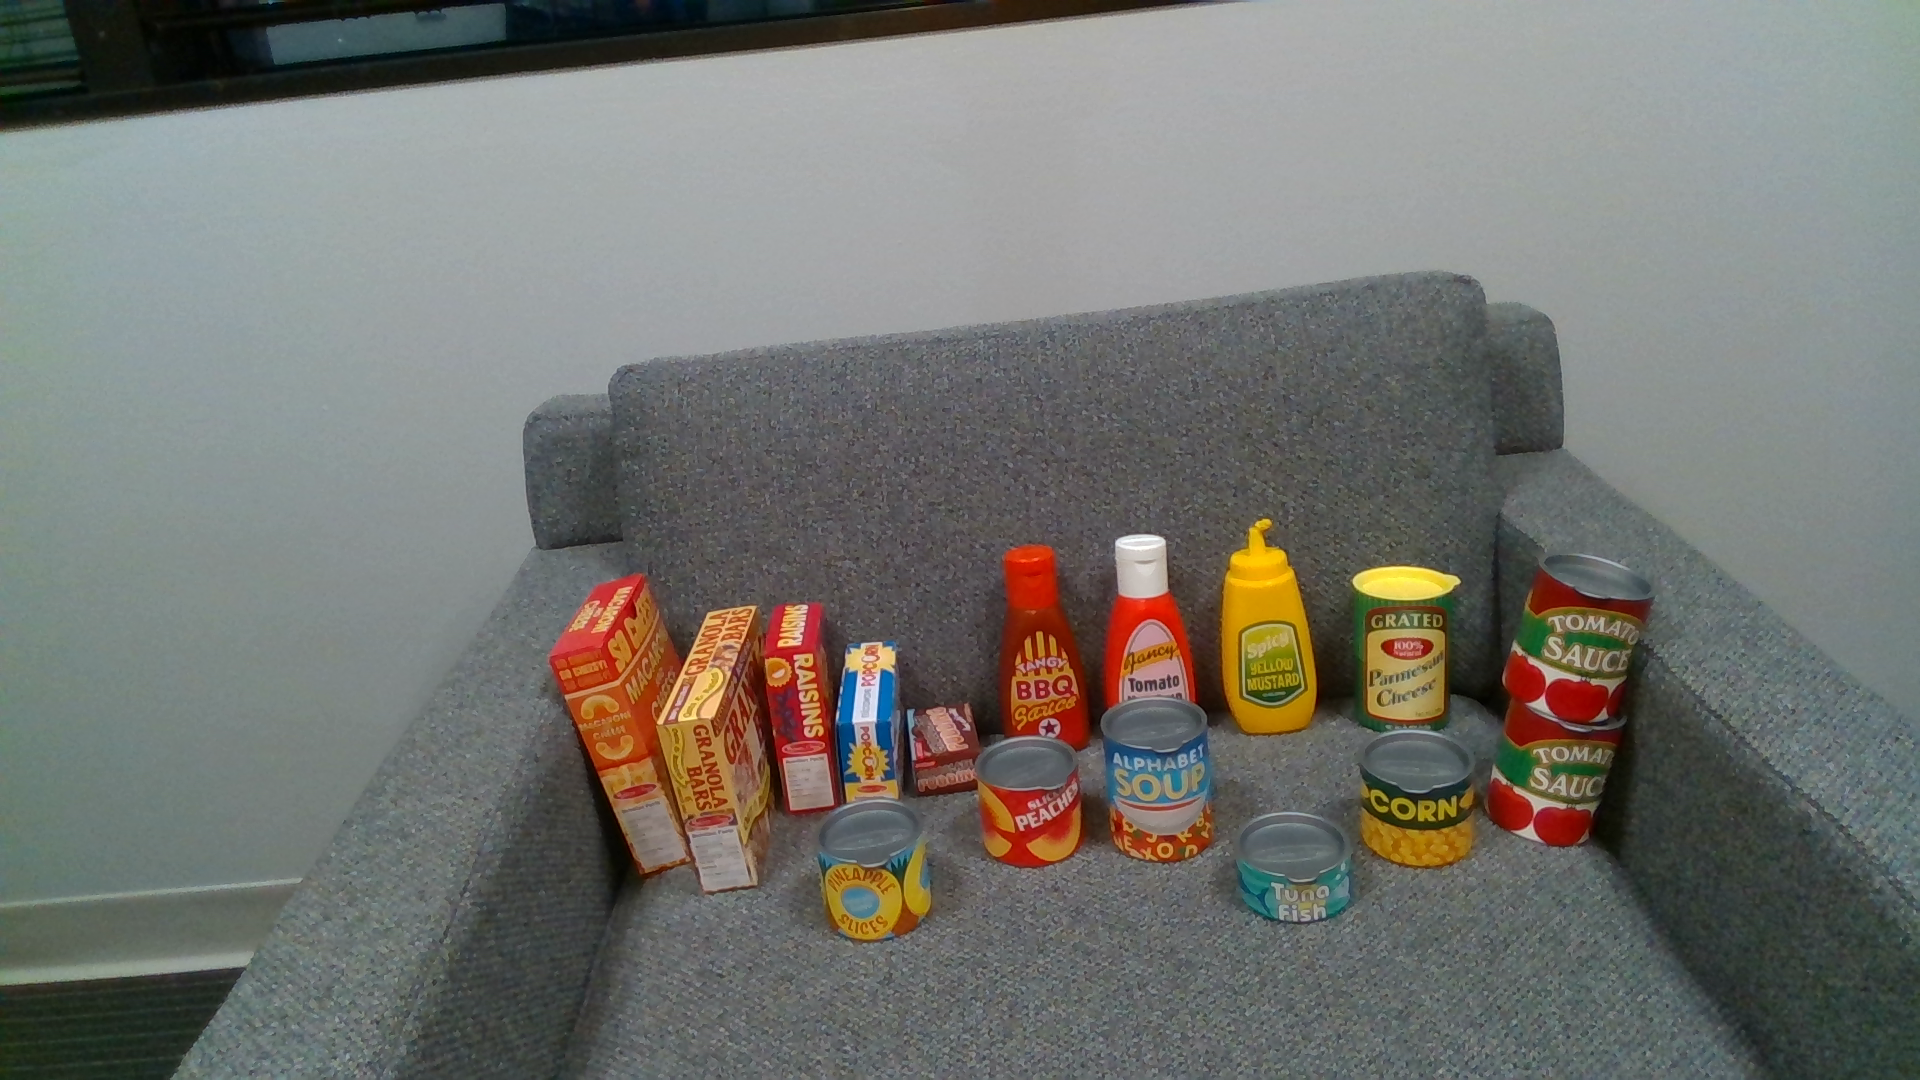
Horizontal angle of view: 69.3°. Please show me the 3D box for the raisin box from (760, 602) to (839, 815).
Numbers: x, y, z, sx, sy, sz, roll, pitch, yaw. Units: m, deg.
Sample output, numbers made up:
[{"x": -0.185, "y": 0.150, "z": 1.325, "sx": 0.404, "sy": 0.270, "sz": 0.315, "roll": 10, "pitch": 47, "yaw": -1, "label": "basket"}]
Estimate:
[{"x": -0.109, "y": 0.115, "z": 0.966, "sx": 0.040, "sy": 0.123, "sz": 0.086, "roll": -6, "pitch": 16, "yaw": 0, "label": "raisin box"}]

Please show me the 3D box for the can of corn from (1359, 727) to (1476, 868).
[{"x": 0.274, "y": 0.156, "z": 0.835, "sx": 0.071, "sy": 0.058, "sz": 0.071, "roll": -6, "pitch": 23, "yaw": 2, "label": "can of corn"}]

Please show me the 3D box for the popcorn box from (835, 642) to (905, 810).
[{"x": -0.060, "y": 0.133, "z": 0.953, "sx": 0.038, "sy": 0.085, "sz": 0.127, "roll": -5, "pitch": 19, "yaw": 1, "label": "popcorn box"}]

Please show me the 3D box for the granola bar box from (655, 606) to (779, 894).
[{"x": -0.154, "y": 0.135, "z": 0.927, "sx": 0.039, "sy": 0.123, "sz": 0.166, "roll": -9, "pitch": 21, "yaw": 5, "label": "granola bar box"}]

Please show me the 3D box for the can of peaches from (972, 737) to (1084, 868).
[{"x": 0.045, "y": 0.166, "z": 0.877, "sx": 0.071, "sy": 0.057, "sz": 0.071, "roll": -6, "pitch": 20, "yaw": 2, "label": "can of peaches"}]

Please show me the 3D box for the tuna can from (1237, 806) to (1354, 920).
[{"x": 0.195, "y": 0.188, "z": 0.804, "sx": 0.071, "sy": 0.032, "sz": 0.071, "roll": -7, "pitch": 25, "yaw": 3, "label": "tuna can"}]

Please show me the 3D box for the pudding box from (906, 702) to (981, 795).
[{"x": -0.011, "y": 0.147, "z": 0.982, "sx": 0.050, "sy": 0.030, "sz": 0.084, "roll": -8, "pitch": 17, "yaw": -2, "label": "pudding box"}]

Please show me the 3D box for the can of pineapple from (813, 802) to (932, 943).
[{"x": -0.052, "y": 0.198, "z": 0.827, "sx": 0.071, "sy": 0.057, "sz": 0.071, "roll": -6, "pitch": 18, "yaw": 2, "label": "can of pineapple"}]

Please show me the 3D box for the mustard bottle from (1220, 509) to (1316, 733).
[{"x": 0.213, "y": 0.056, "z": 0.979, "sx": 0.065, "sy": 0.159, "sz": 0.049, "roll": -9, "pitch": 15, "yaw": 5, "label": "mustard bottle"}]

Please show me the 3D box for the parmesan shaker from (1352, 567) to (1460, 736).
[{"x": 0.313, "y": 0.078, "z": 0.972, "sx": 0.071, "sy": 0.102, "sz": 0.071, "roll": -5, "pitch": 17, "yaw": 2, "label": "parmesan shaker"}]

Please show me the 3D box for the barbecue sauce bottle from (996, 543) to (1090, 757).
[{"x": 0.055, "y": 0.078, "z": 0.982, "sx": 0.065, "sy": 0.148, "sz": 0.044, "roll": -7, "pitch": 15, "yaw": -4, "label": "barbecue sauce bottle"}]

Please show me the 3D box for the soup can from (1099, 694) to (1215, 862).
[{"x": 0.124, "y": 0.149, "z": 0.863, "sx": 0.071, "sy": 0.083, "sz": 0.071, "roll": -7, "pitch": 19, "yaw": 2, "label": "soup can"}]

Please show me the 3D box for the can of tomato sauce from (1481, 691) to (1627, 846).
[{"x": 0.362, "y": 0.135, "z": 0.848, "sx": 0.071, "sy": 0.082, "sz": 0.071, "roll": 6, "pitch": 20, "yaw": -2, "label": "can of tomato sauce"}]

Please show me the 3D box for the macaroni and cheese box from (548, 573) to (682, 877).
[{"x": -0.214, "y": 0.121, "z": 0.942, "sx": 0.040, "sy": 0.166, "sz": 0.124, "roll": -15, "pitch": 19, "yaw": 6, "label": "macaroni and cheese box"}]

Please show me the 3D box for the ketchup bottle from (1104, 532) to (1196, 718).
[{"x": 0.132, "y": 0.069, "z": 0.982, "sx": 0.065, "sy": 0.148, "sz": 0.043, "roll": -6, "pitch": 15, "yaw": -3, "label": "ketchup bottle"}]

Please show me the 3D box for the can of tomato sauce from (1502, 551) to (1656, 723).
[{"x": 0.364, "y": 0.058, "z": 0.821, "sx": 0.071, "sy": 0.082, "sz": 0.071, "roll": 6, "pitch": 22, "yaw": -2, "label": "can of tomato sauce"}]
